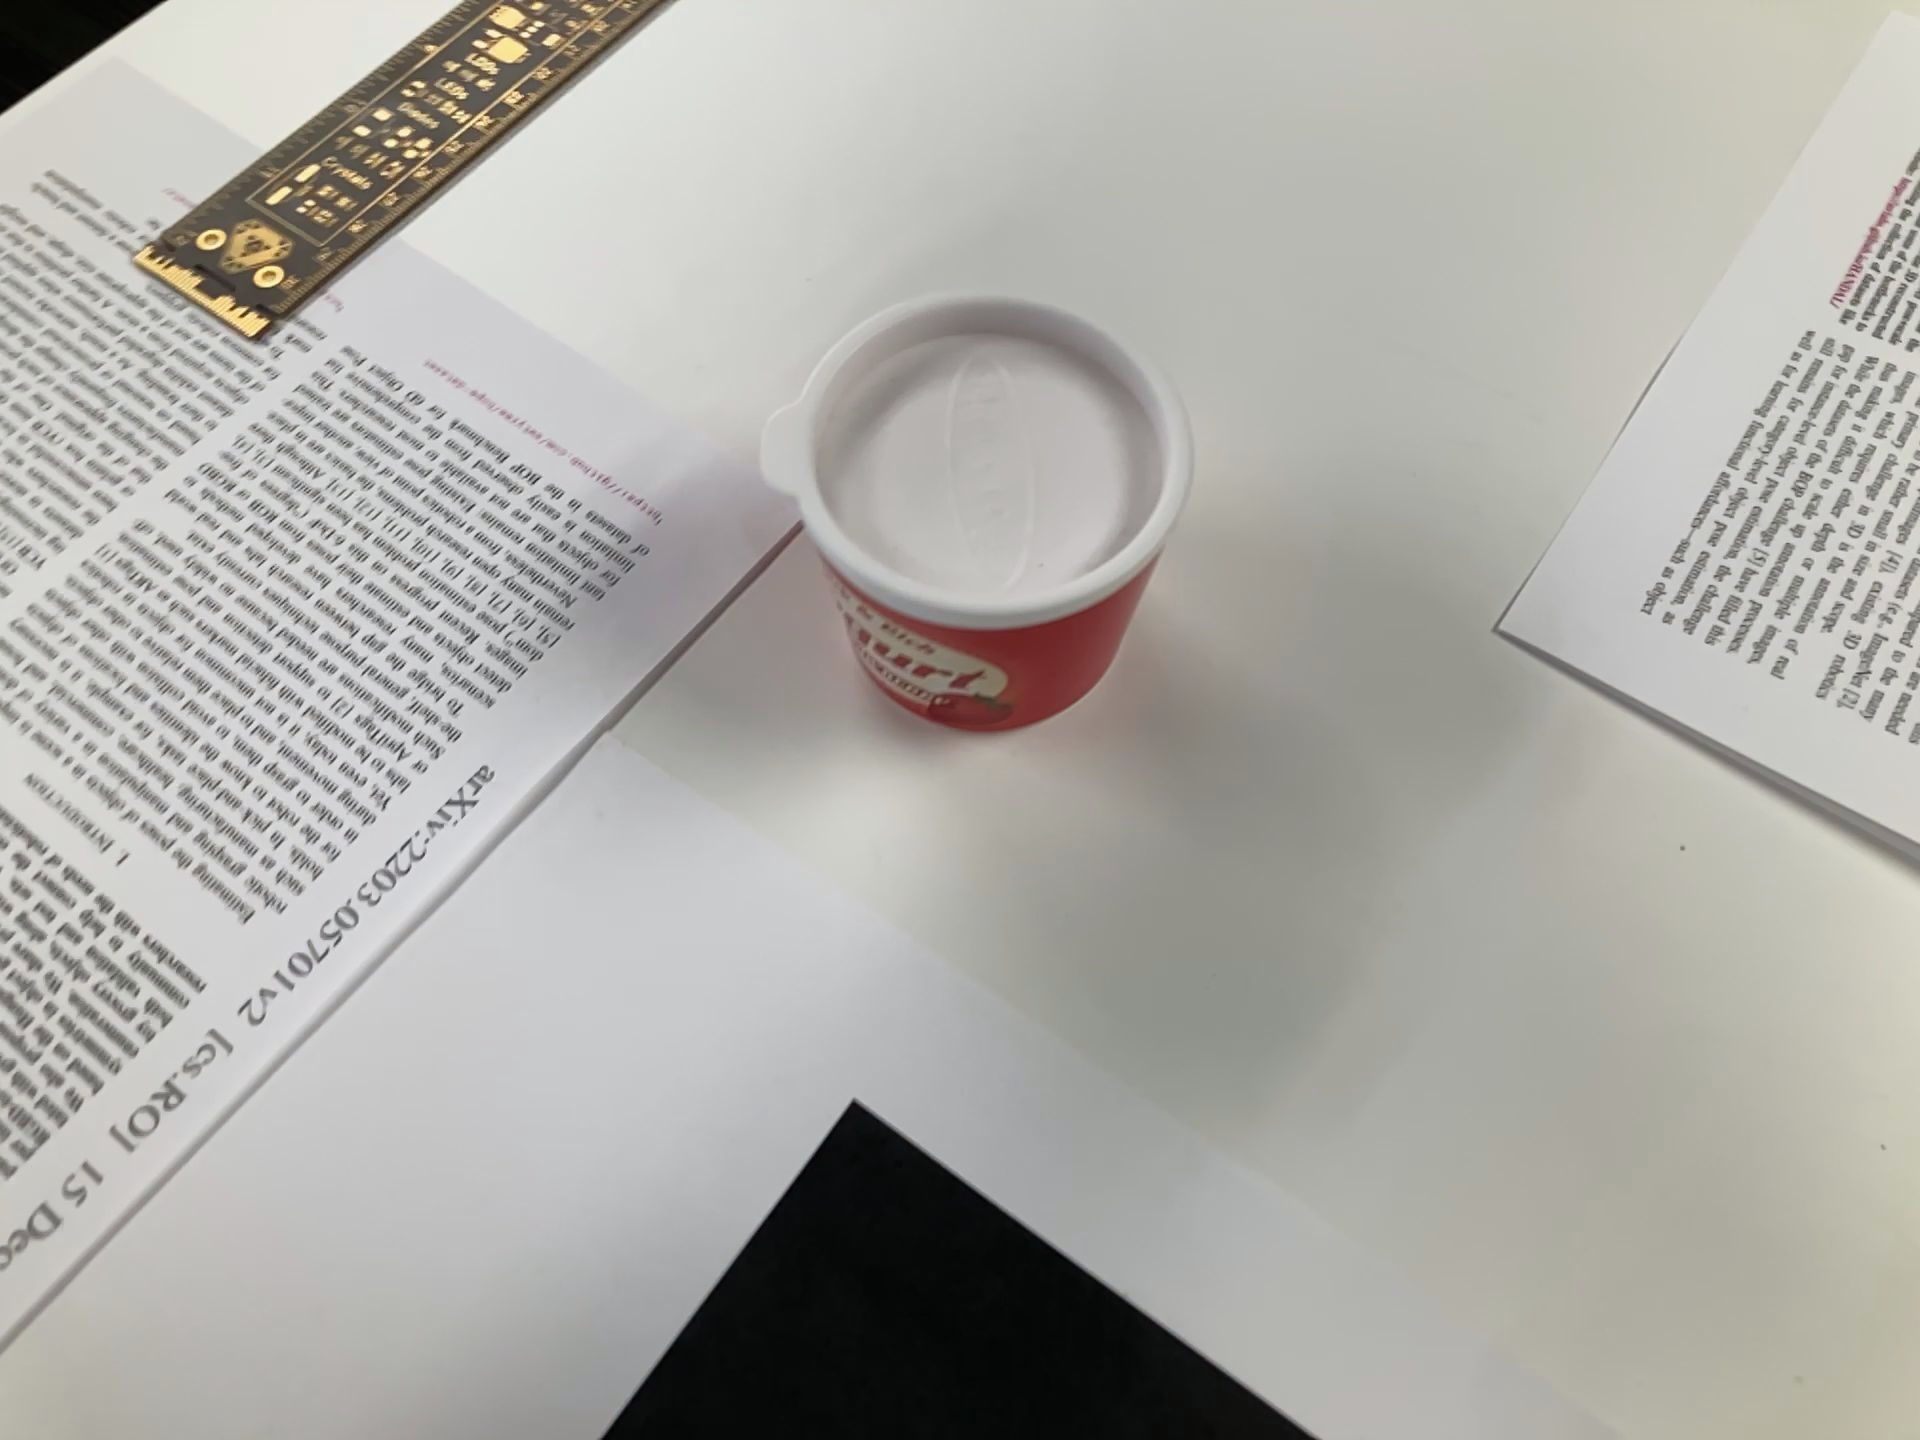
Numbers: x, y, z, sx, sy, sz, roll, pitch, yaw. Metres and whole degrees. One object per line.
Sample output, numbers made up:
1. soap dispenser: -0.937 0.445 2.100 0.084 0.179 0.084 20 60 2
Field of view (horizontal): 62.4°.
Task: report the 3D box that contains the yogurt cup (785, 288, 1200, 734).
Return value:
1. yogurt cup: 0.005 -0.034 0.281 0.072 0.054 0.072 1 62 -1
